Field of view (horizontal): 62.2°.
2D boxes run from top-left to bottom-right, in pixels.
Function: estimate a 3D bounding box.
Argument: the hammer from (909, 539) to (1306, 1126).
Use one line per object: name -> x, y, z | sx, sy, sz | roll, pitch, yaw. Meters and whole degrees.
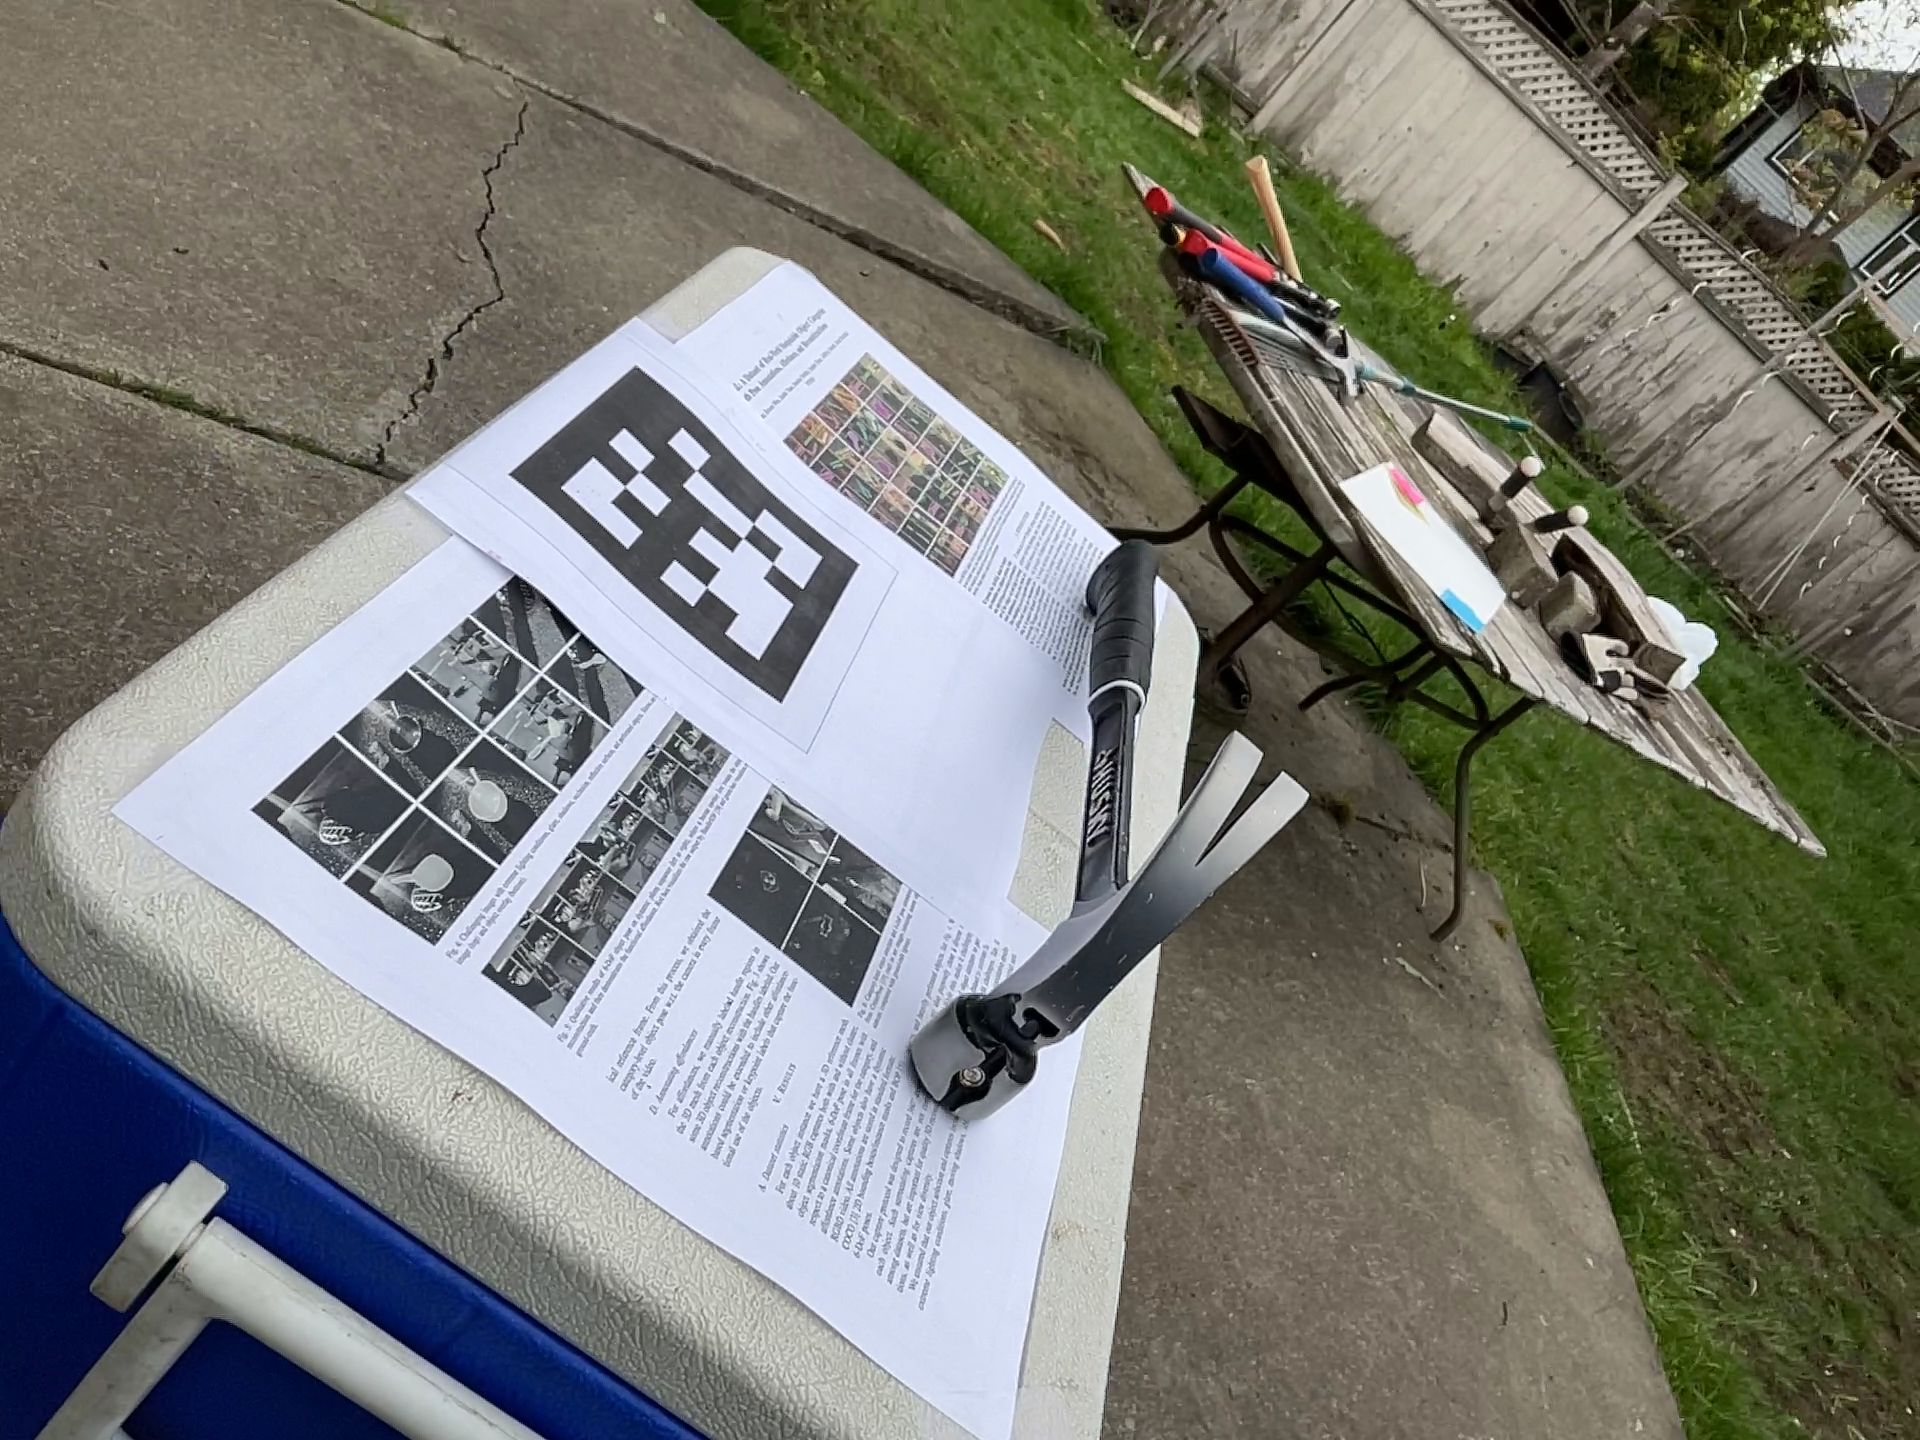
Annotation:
hammer -> 0.066, -0.004, 0.659 | 0.036, 0.149, 0.409 | 40, 22, -10
